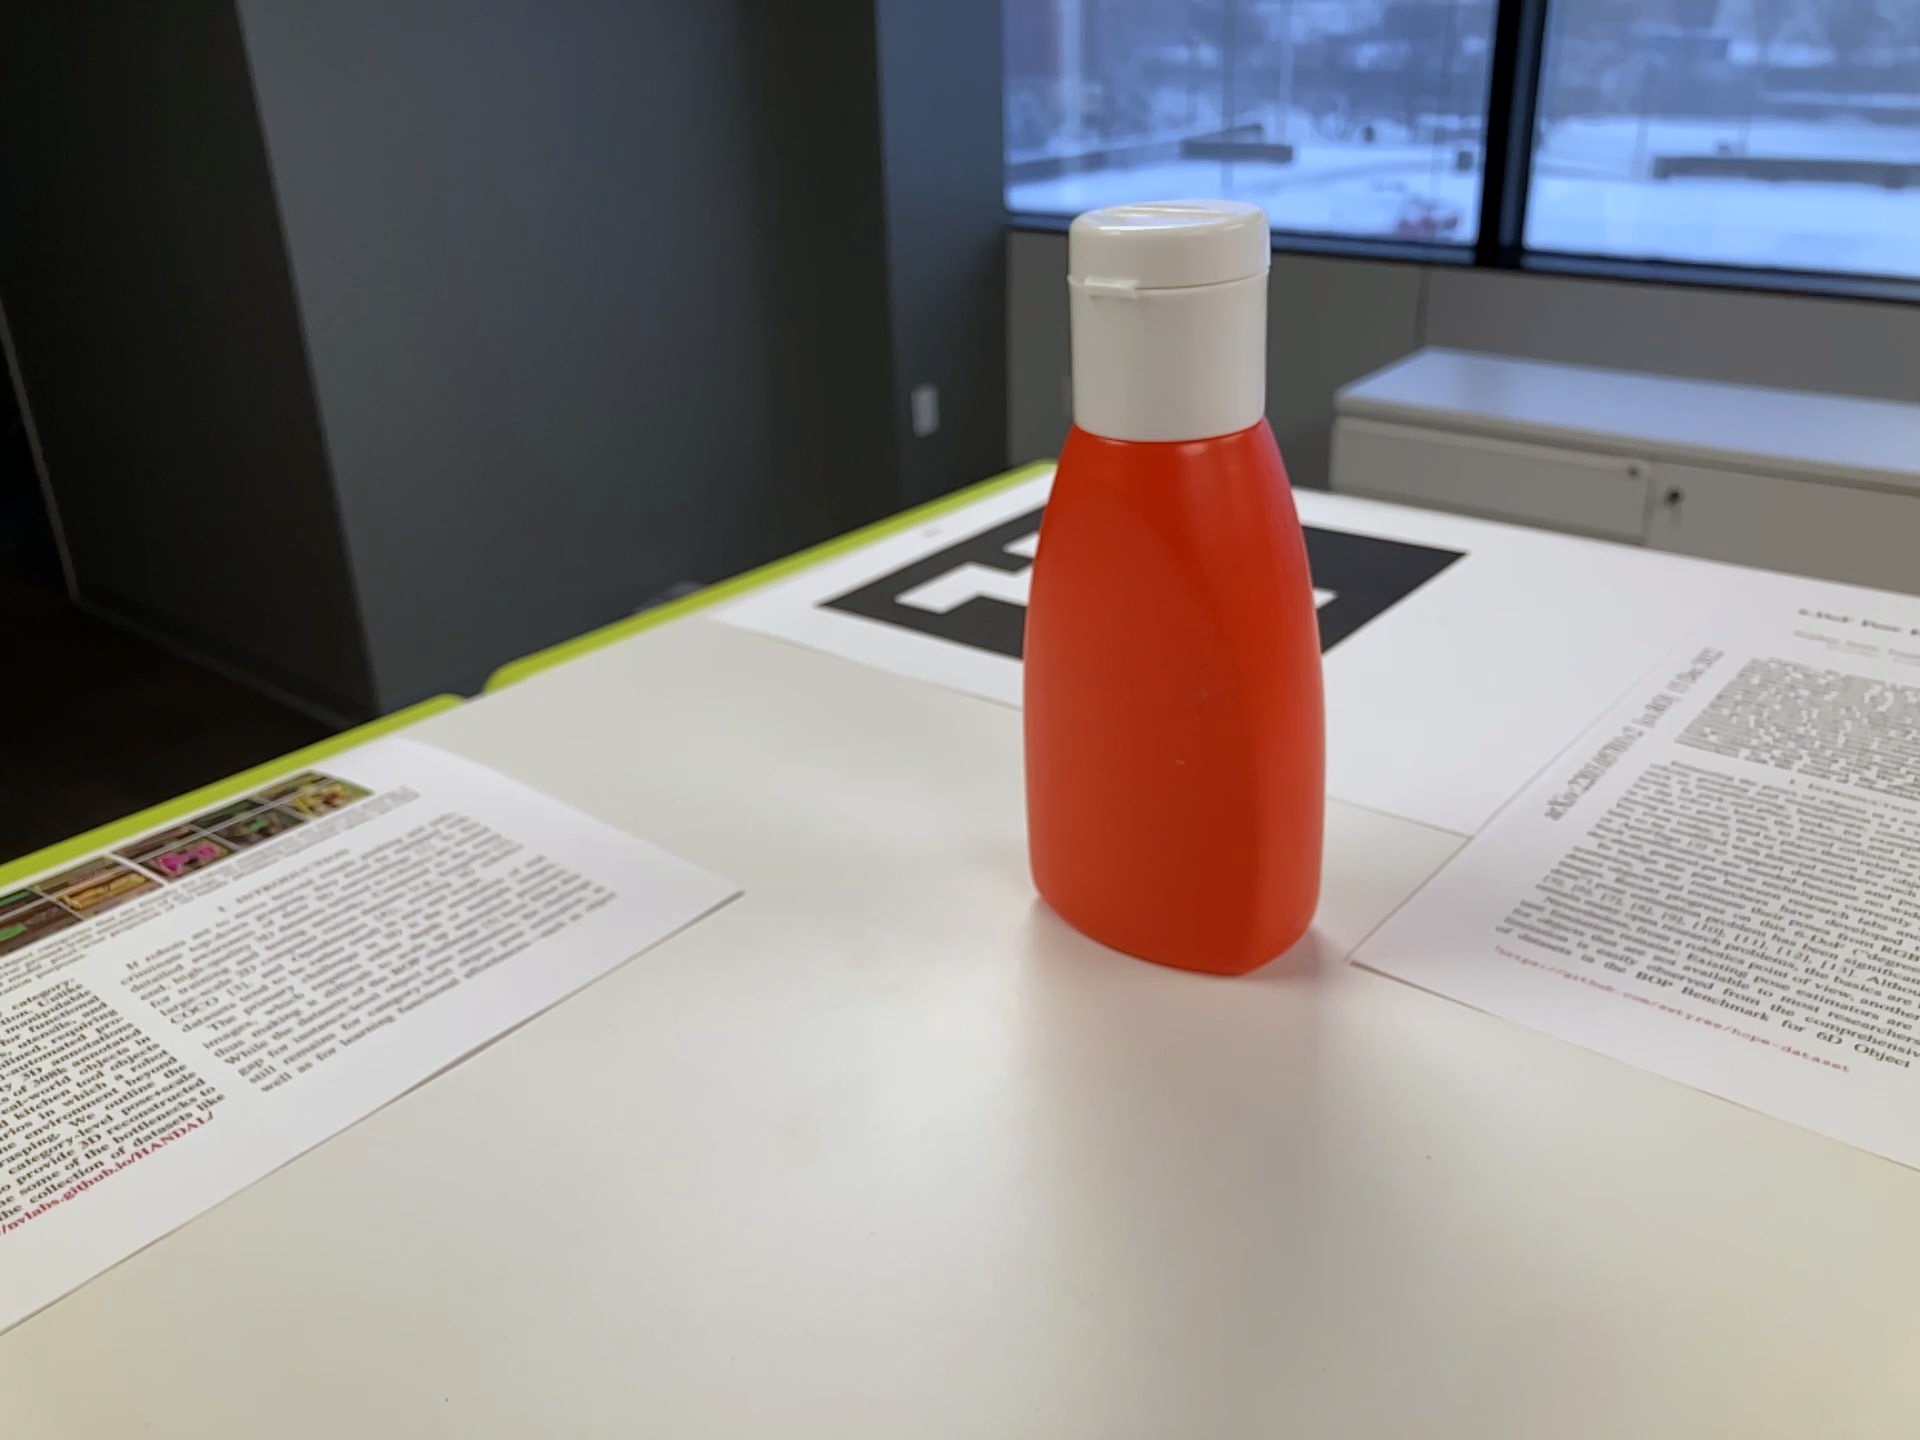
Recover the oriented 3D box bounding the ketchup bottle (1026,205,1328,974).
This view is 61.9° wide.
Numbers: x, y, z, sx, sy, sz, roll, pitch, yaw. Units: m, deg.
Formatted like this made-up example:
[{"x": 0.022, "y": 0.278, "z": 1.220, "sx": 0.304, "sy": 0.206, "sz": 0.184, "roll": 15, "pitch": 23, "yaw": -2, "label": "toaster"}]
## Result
[{"x": 0.042, "y": -0.024, "z": 0.322, "sx": 0.065, "sy": 0.149, "sz": 0.043, "roll": 17, "pitch": 32, "yaw": 38, "label": "ketchup bottle"}]
